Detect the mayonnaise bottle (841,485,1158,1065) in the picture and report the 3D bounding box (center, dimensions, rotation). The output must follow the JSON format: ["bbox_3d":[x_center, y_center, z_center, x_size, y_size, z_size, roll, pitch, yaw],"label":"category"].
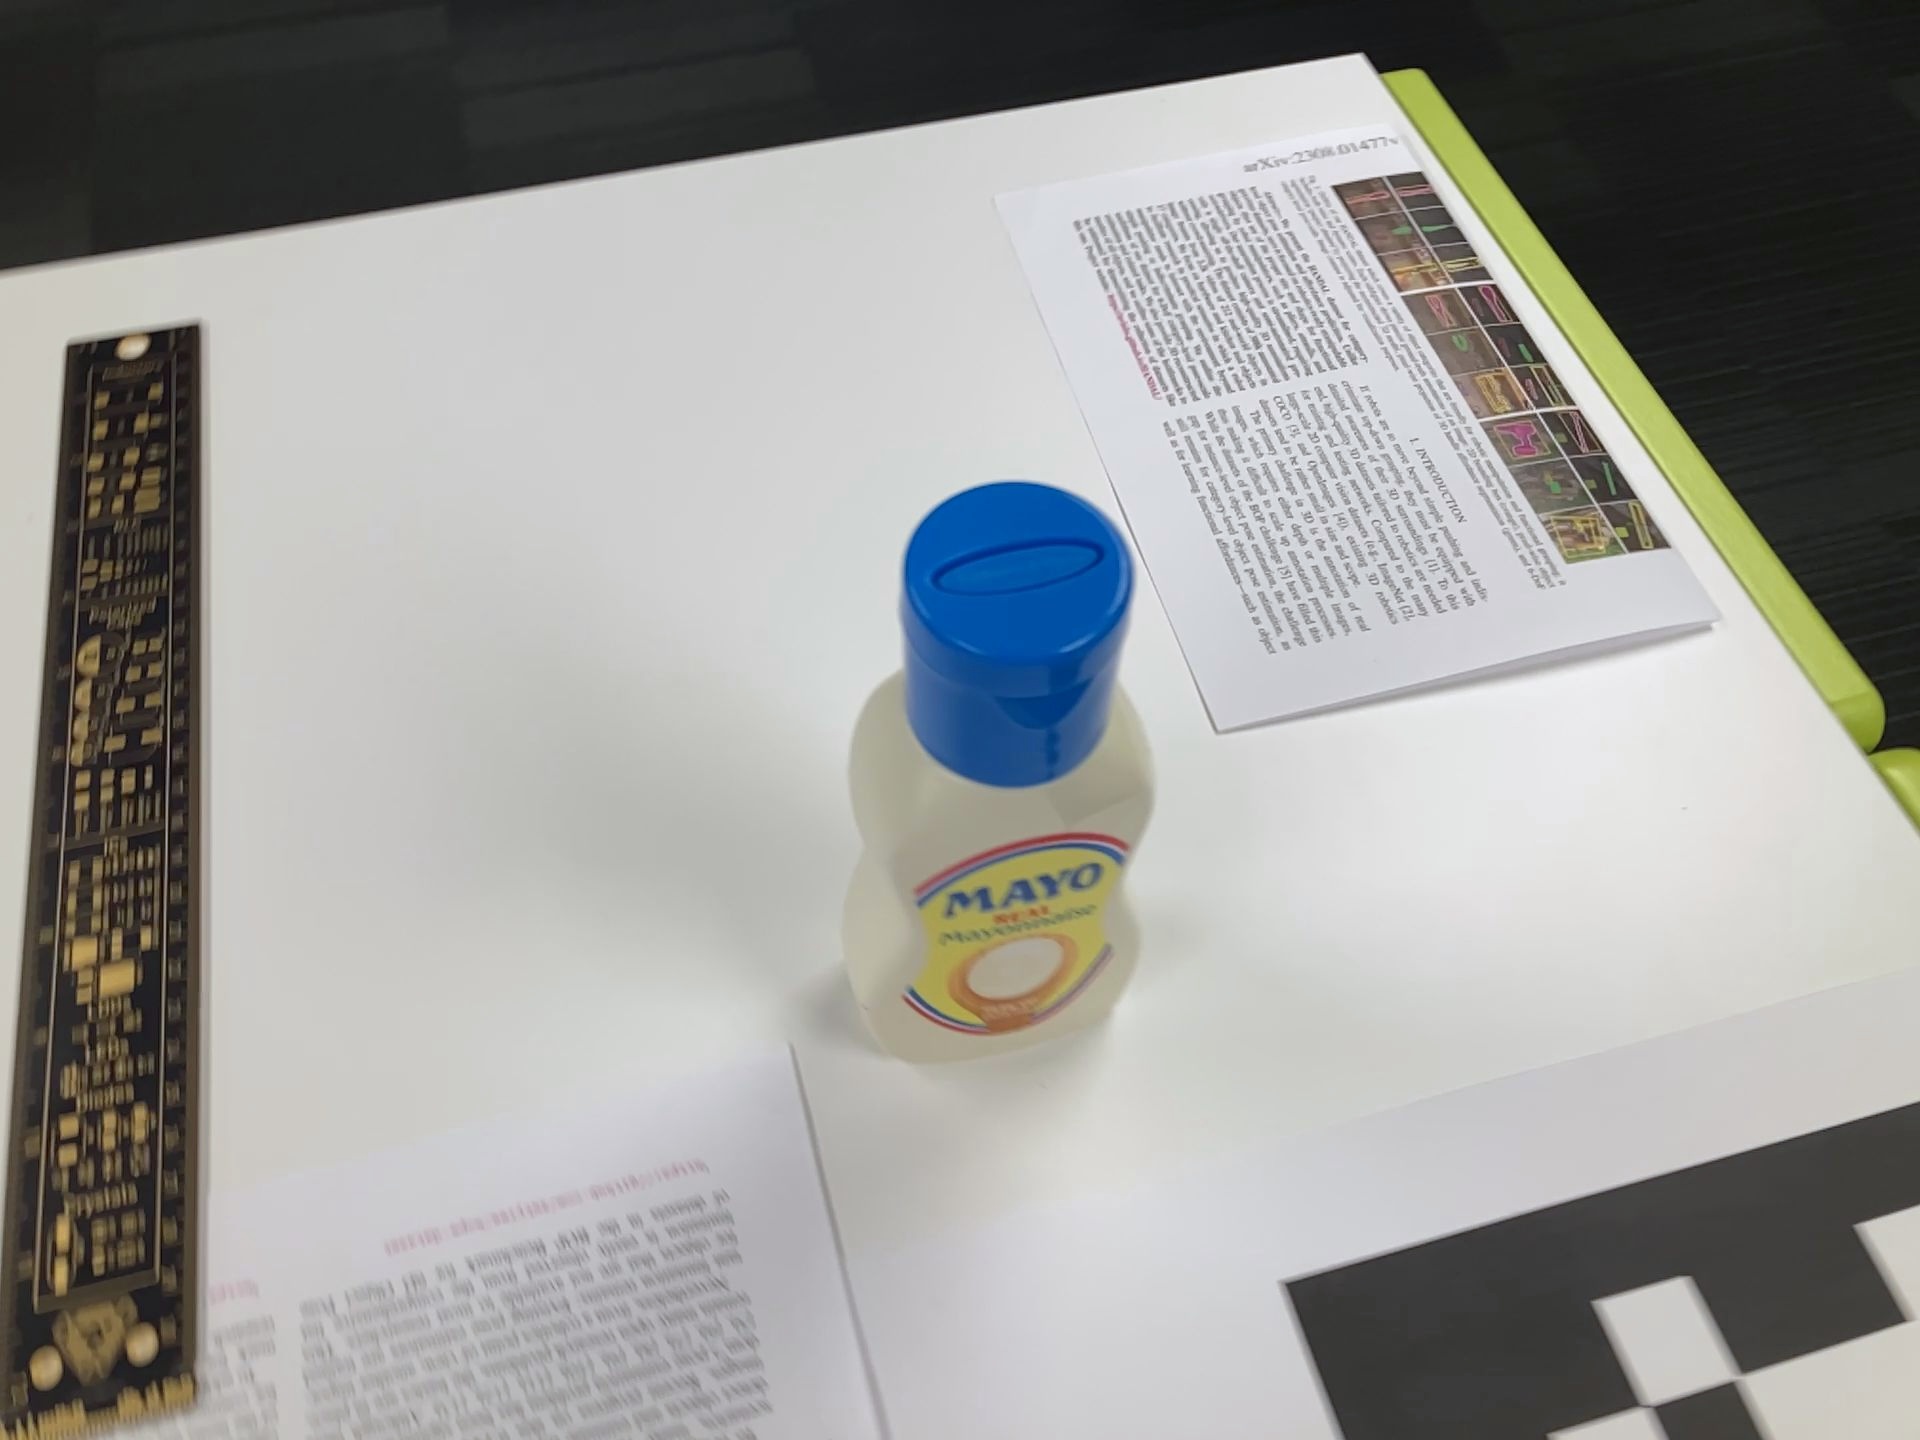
[{"bbox_3d":[0.008,0.018,0.301,0.065,0.148,0.041,-12,57,-9],"label":"mayonnaise bottle"}]
